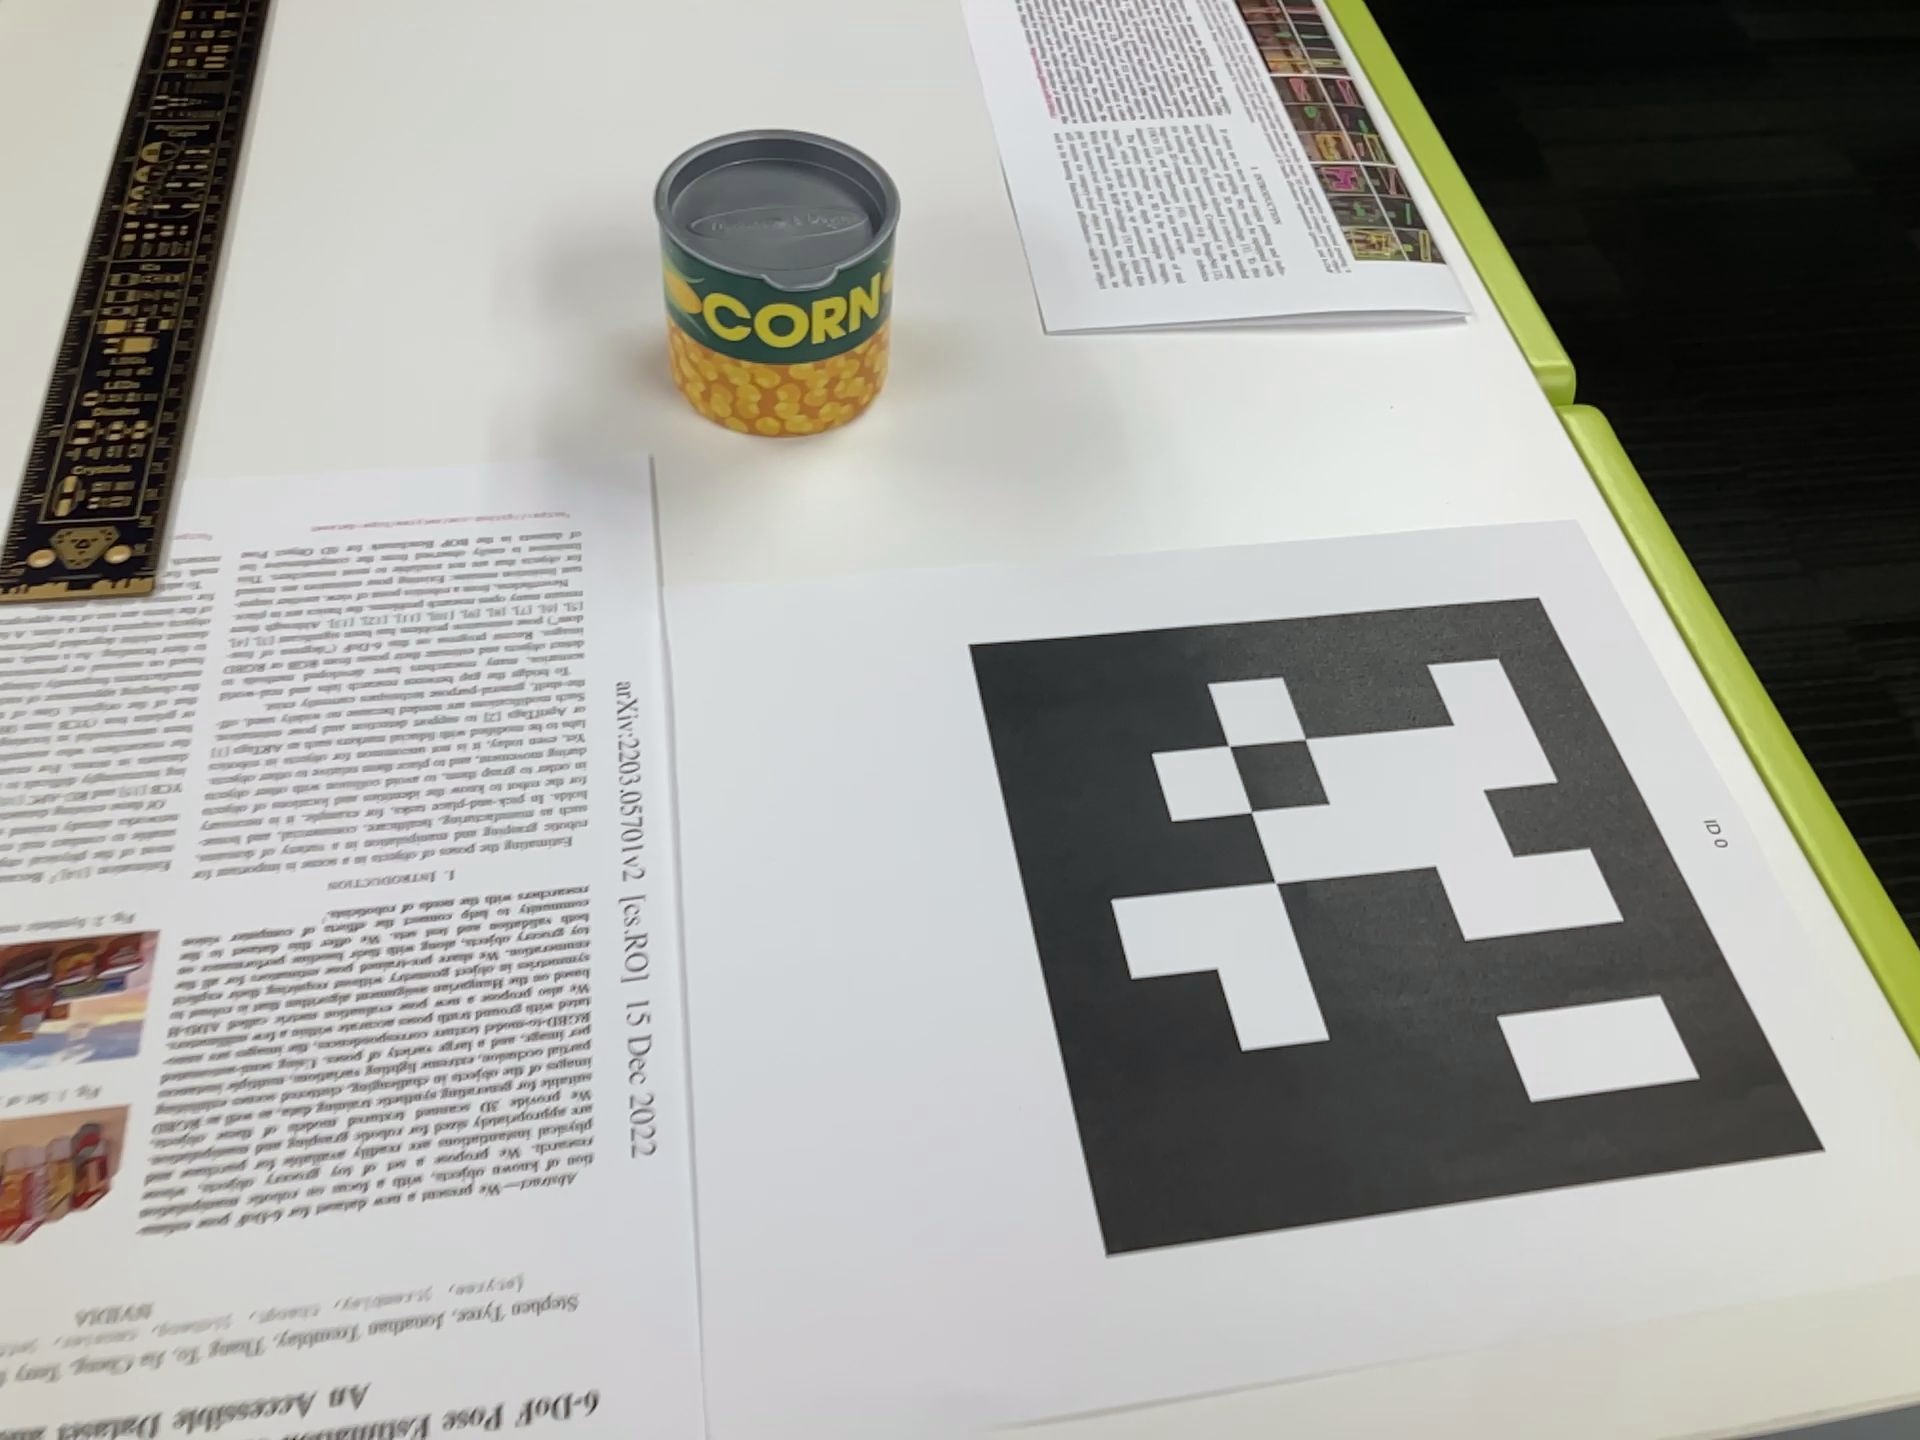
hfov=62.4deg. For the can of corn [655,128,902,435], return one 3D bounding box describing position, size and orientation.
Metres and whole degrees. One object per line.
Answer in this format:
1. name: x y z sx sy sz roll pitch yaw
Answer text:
1. can of corn: -0.051 -0.122 0.450 0.071 0.058 0.071 3 53 -4
